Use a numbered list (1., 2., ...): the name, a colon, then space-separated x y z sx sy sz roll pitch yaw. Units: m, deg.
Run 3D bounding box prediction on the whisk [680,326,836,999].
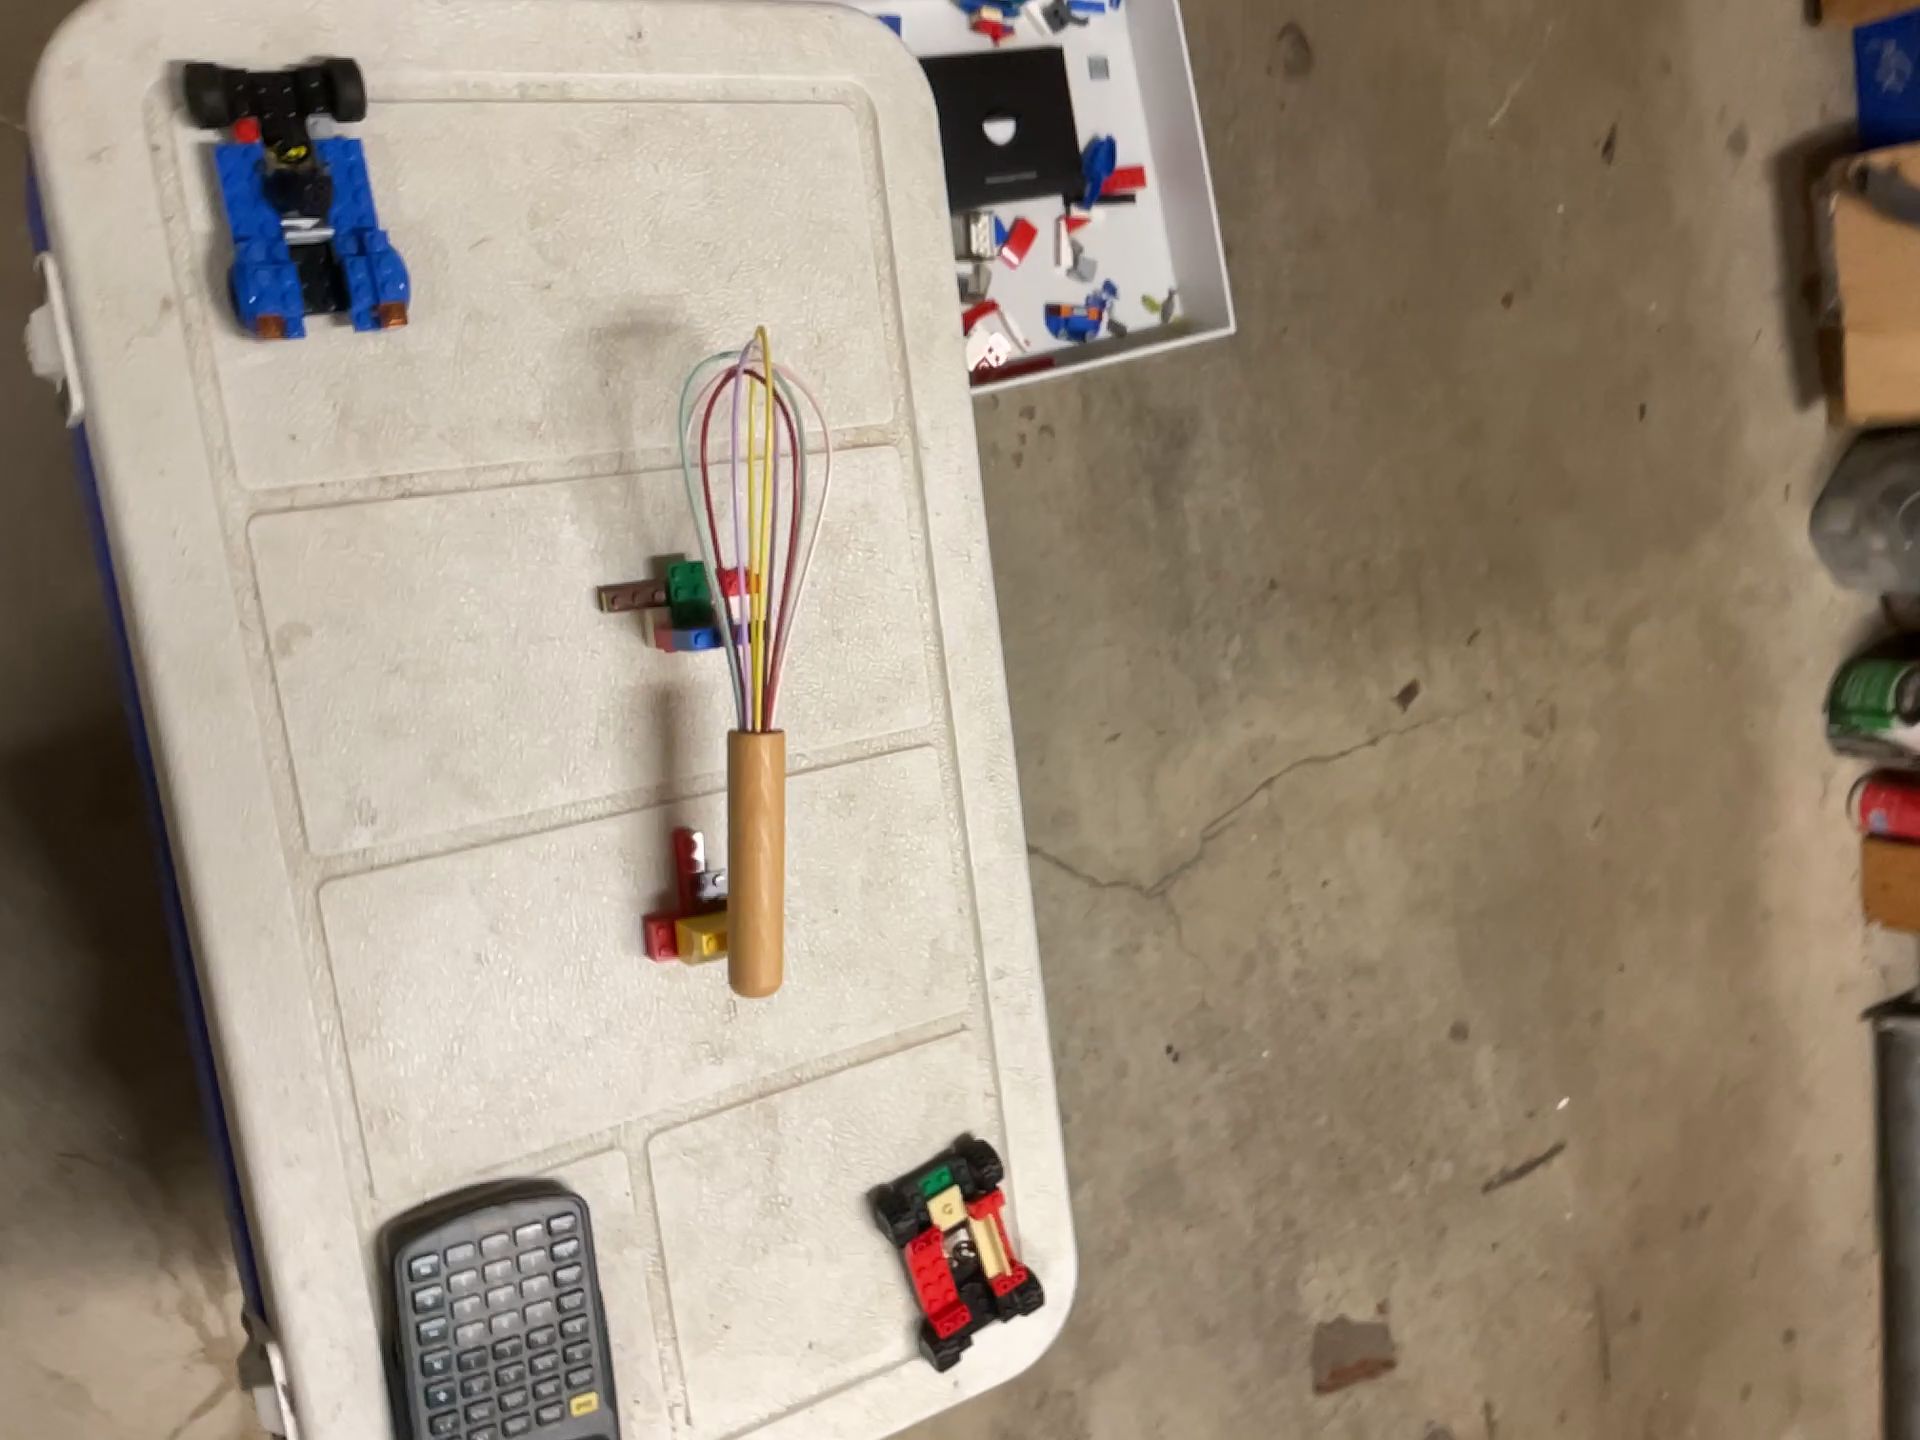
1. whisk: -0.075 -0.018 0.578 0.051 0.047 0.245 -6 101 -43
